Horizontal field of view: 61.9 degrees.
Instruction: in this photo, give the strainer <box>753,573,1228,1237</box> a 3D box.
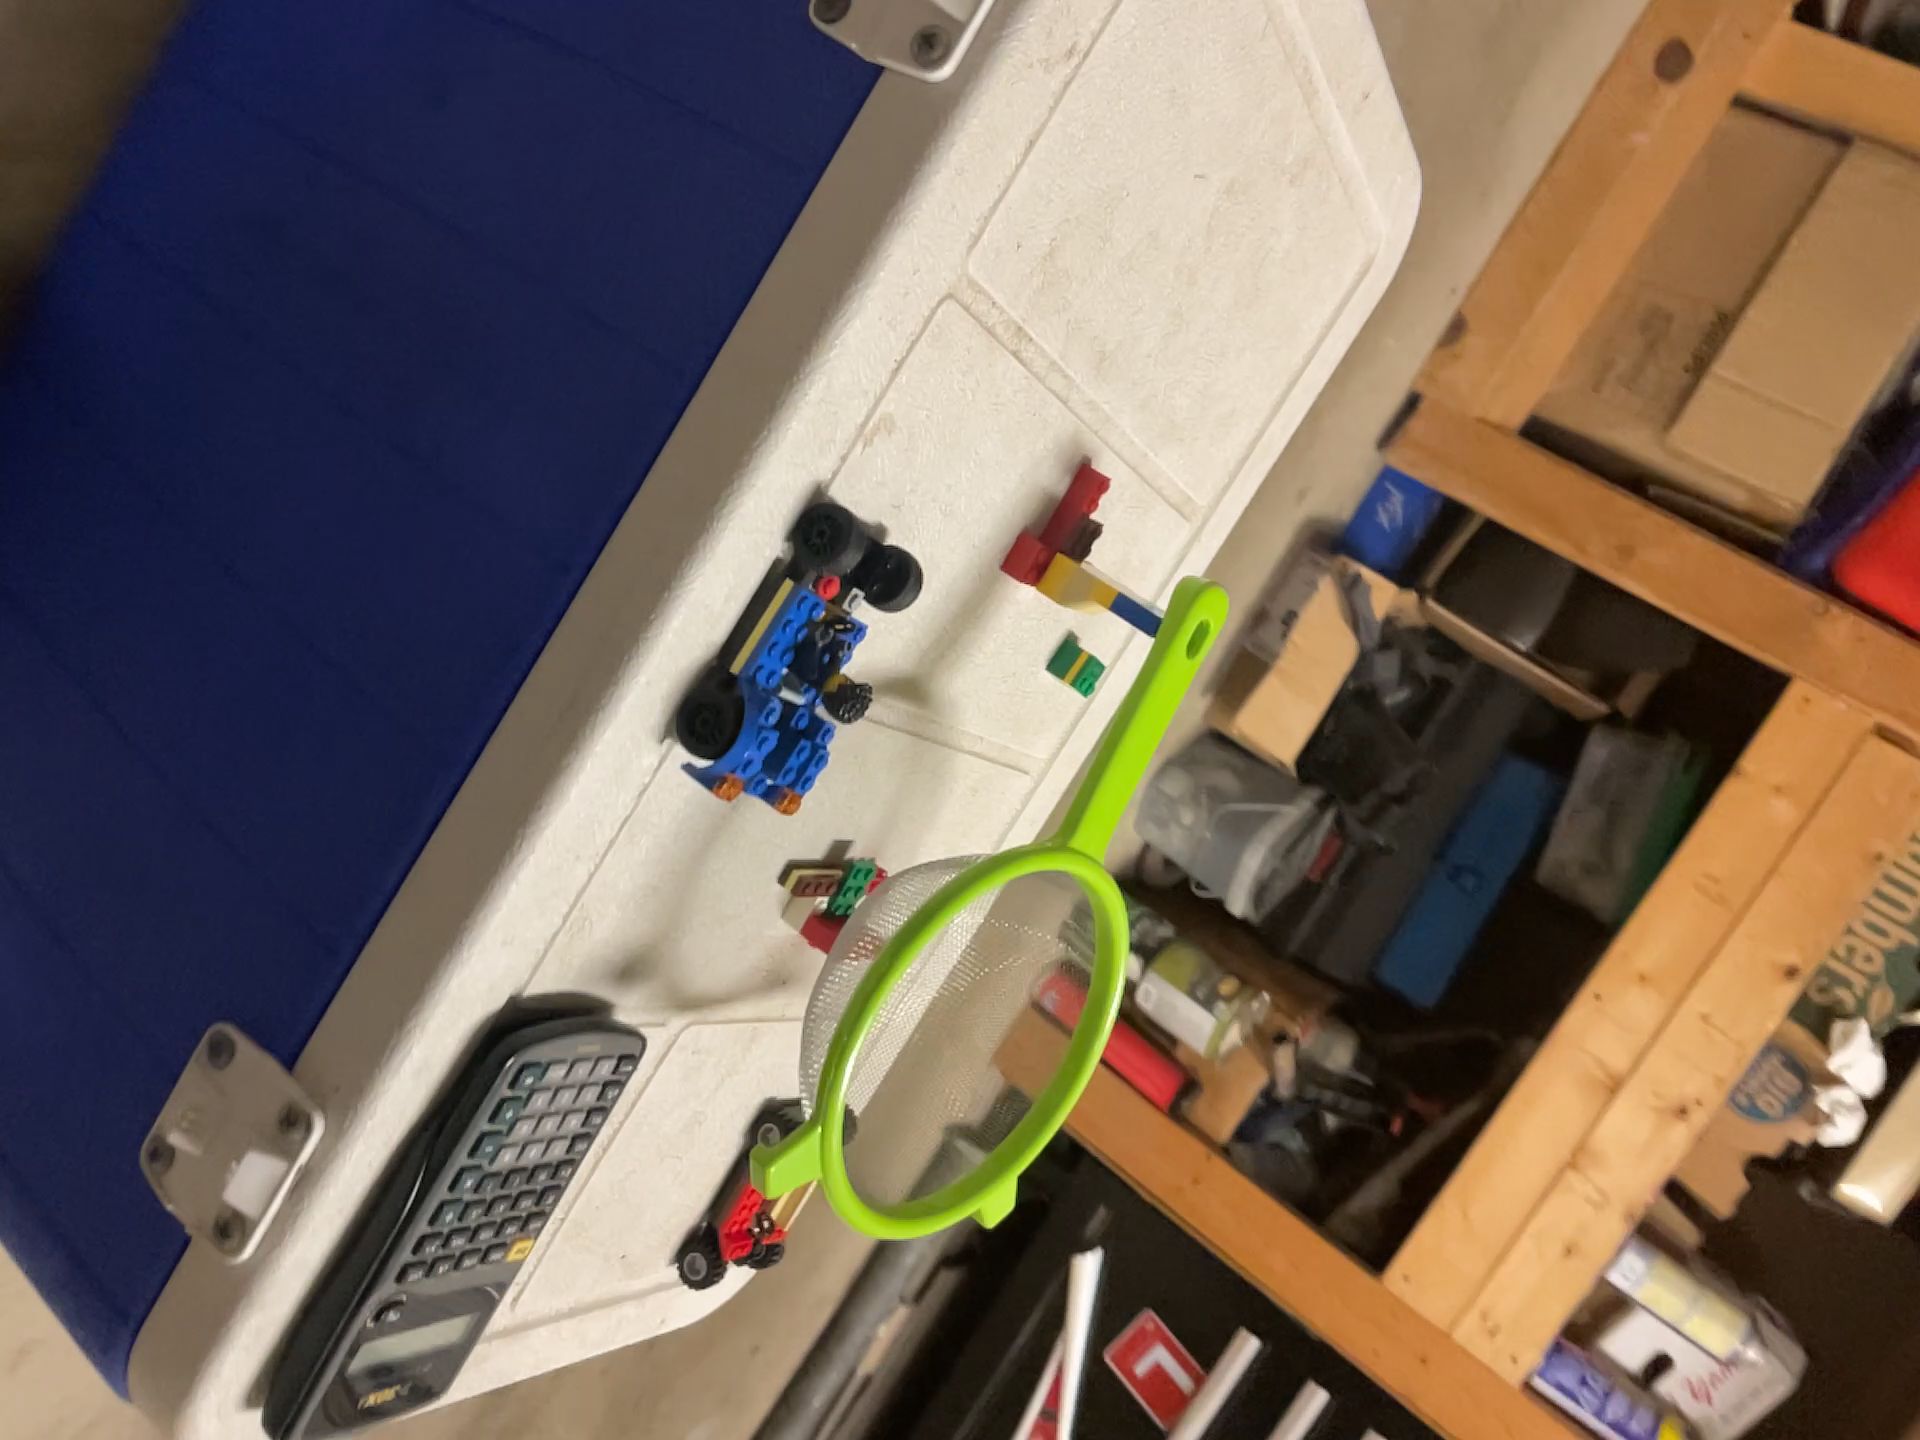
[{"bbox_3d":[0.013,0.055,0.578,0.151,0.069,0.256,31,85,-52],"label":"strainer"}]
